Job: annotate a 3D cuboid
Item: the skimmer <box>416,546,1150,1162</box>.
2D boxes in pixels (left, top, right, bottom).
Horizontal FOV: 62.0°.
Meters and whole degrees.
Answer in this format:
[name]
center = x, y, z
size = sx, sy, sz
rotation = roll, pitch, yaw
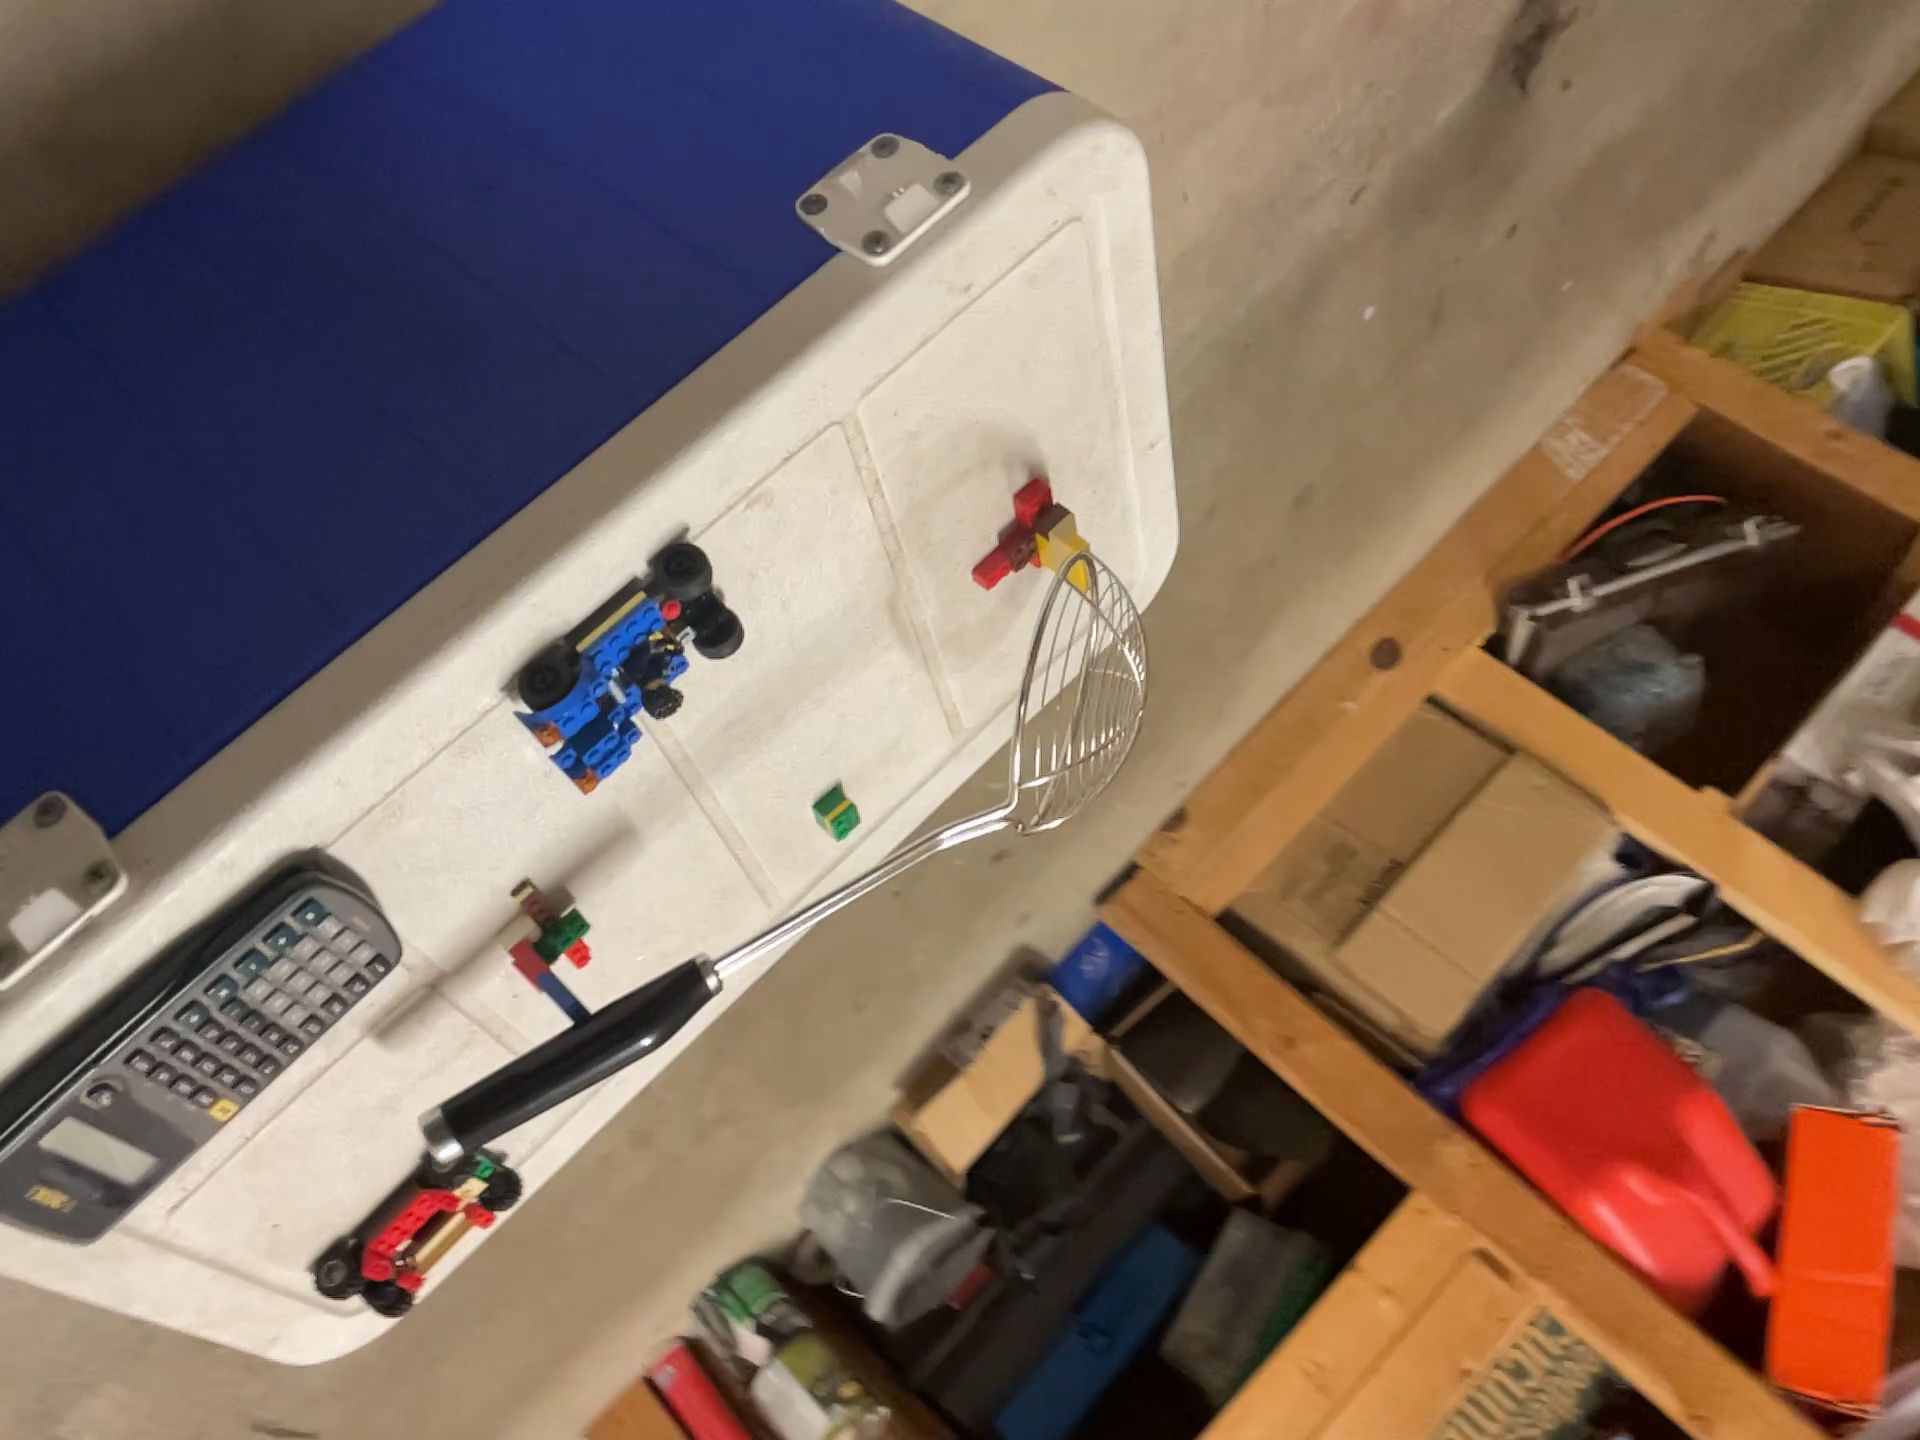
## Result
[skimmer]
center = -0.066, 0.053, 0.670
size = 0.363, 0.090, 0.127
rotation = -30, 148, -13
